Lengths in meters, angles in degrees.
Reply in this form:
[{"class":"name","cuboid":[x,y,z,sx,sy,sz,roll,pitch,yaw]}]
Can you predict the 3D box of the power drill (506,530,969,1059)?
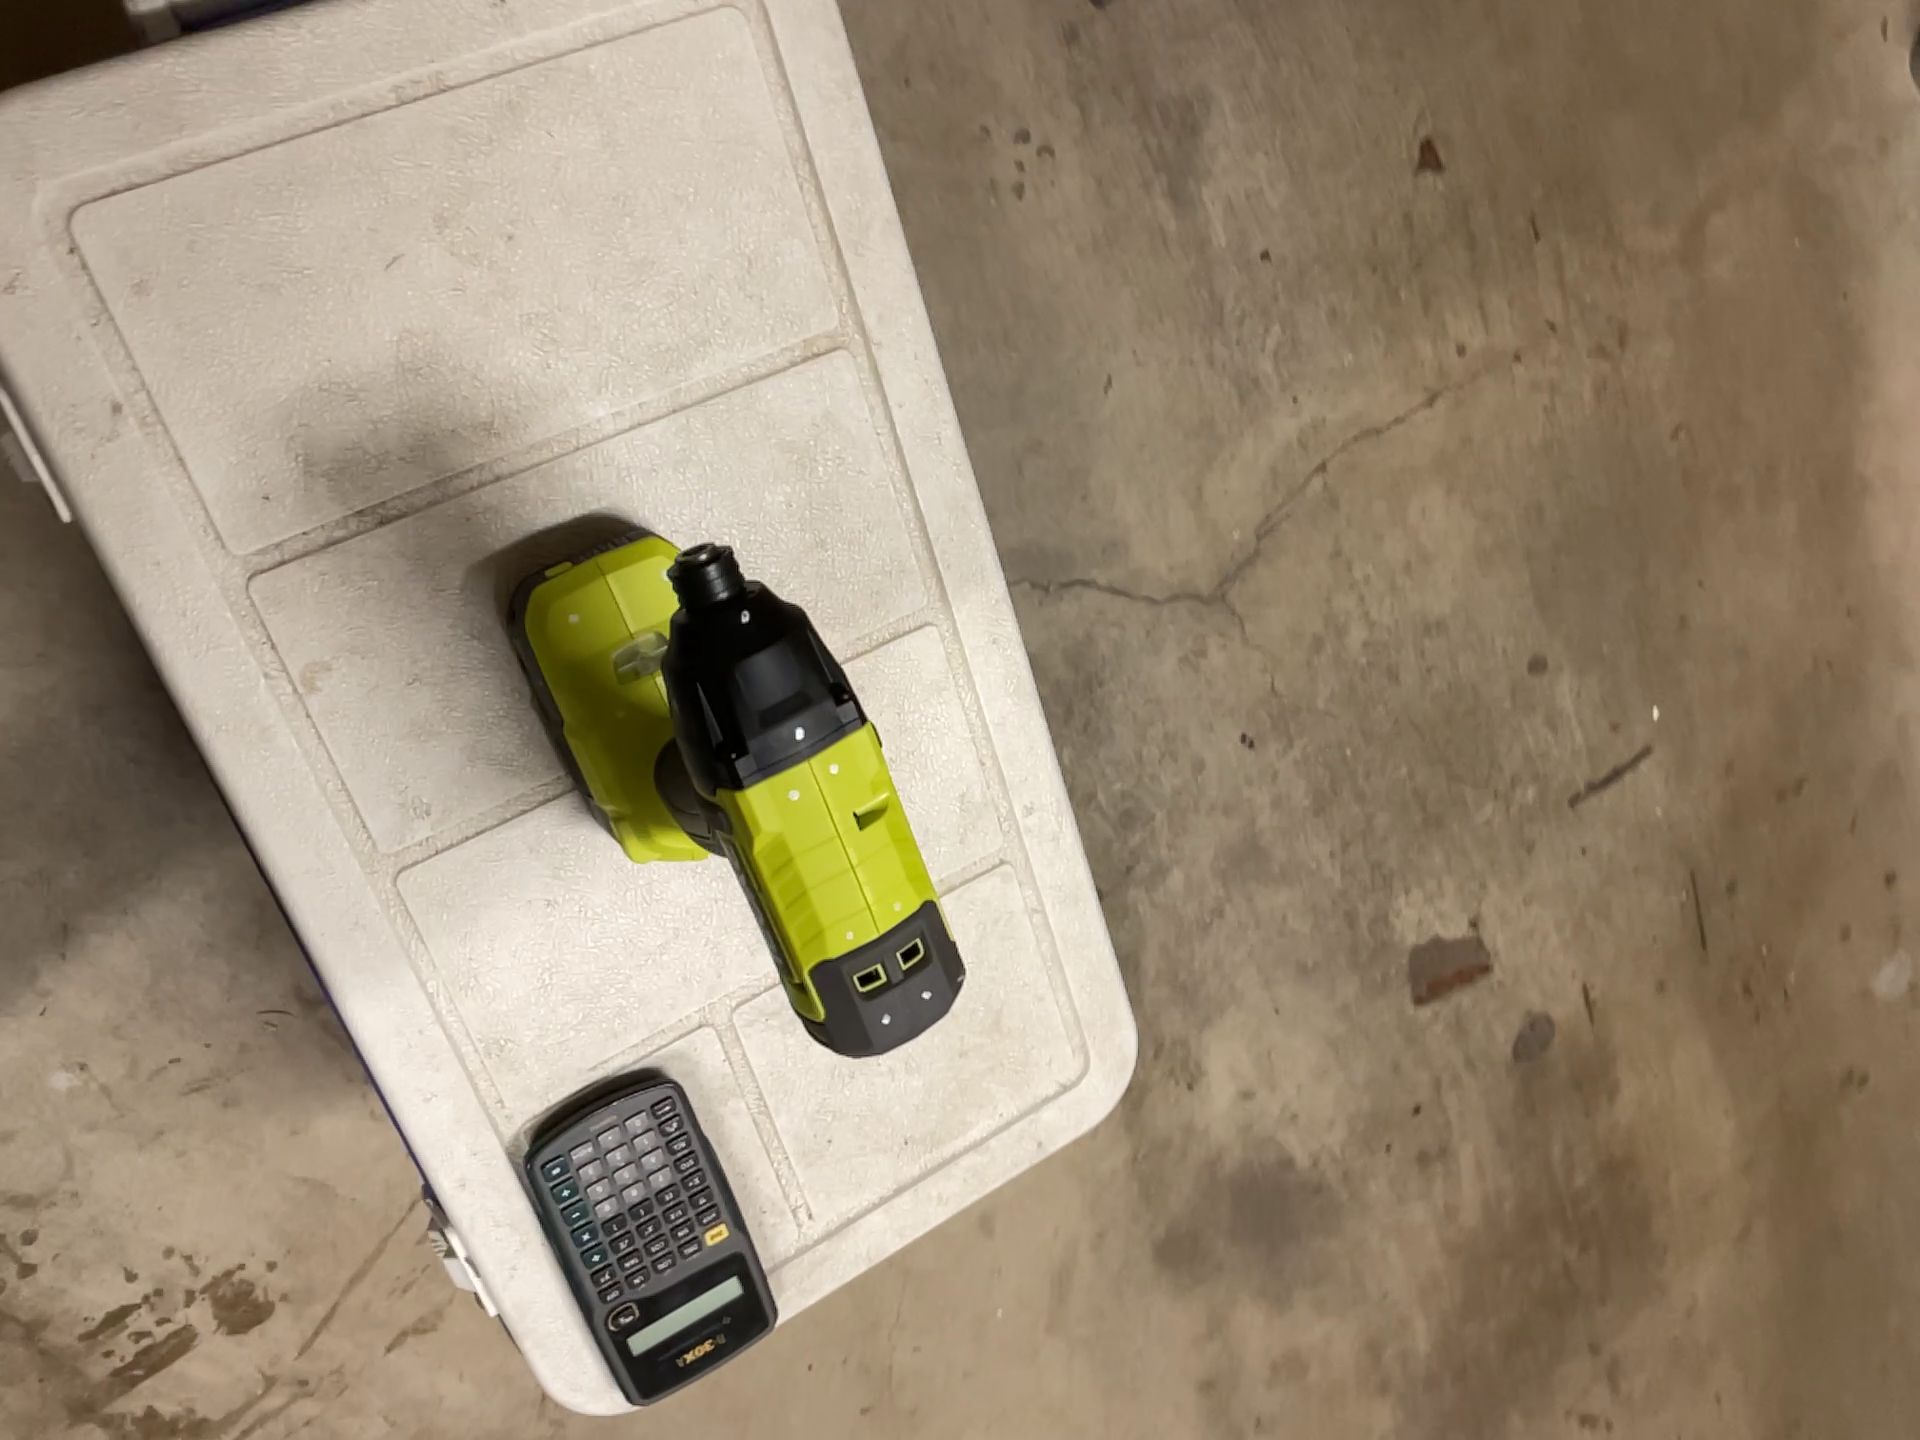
[{"class":"power drill","cuboid":[-0.089,0.006,0.577,0.080,0.223,0.171,-29,114,-20]}]
